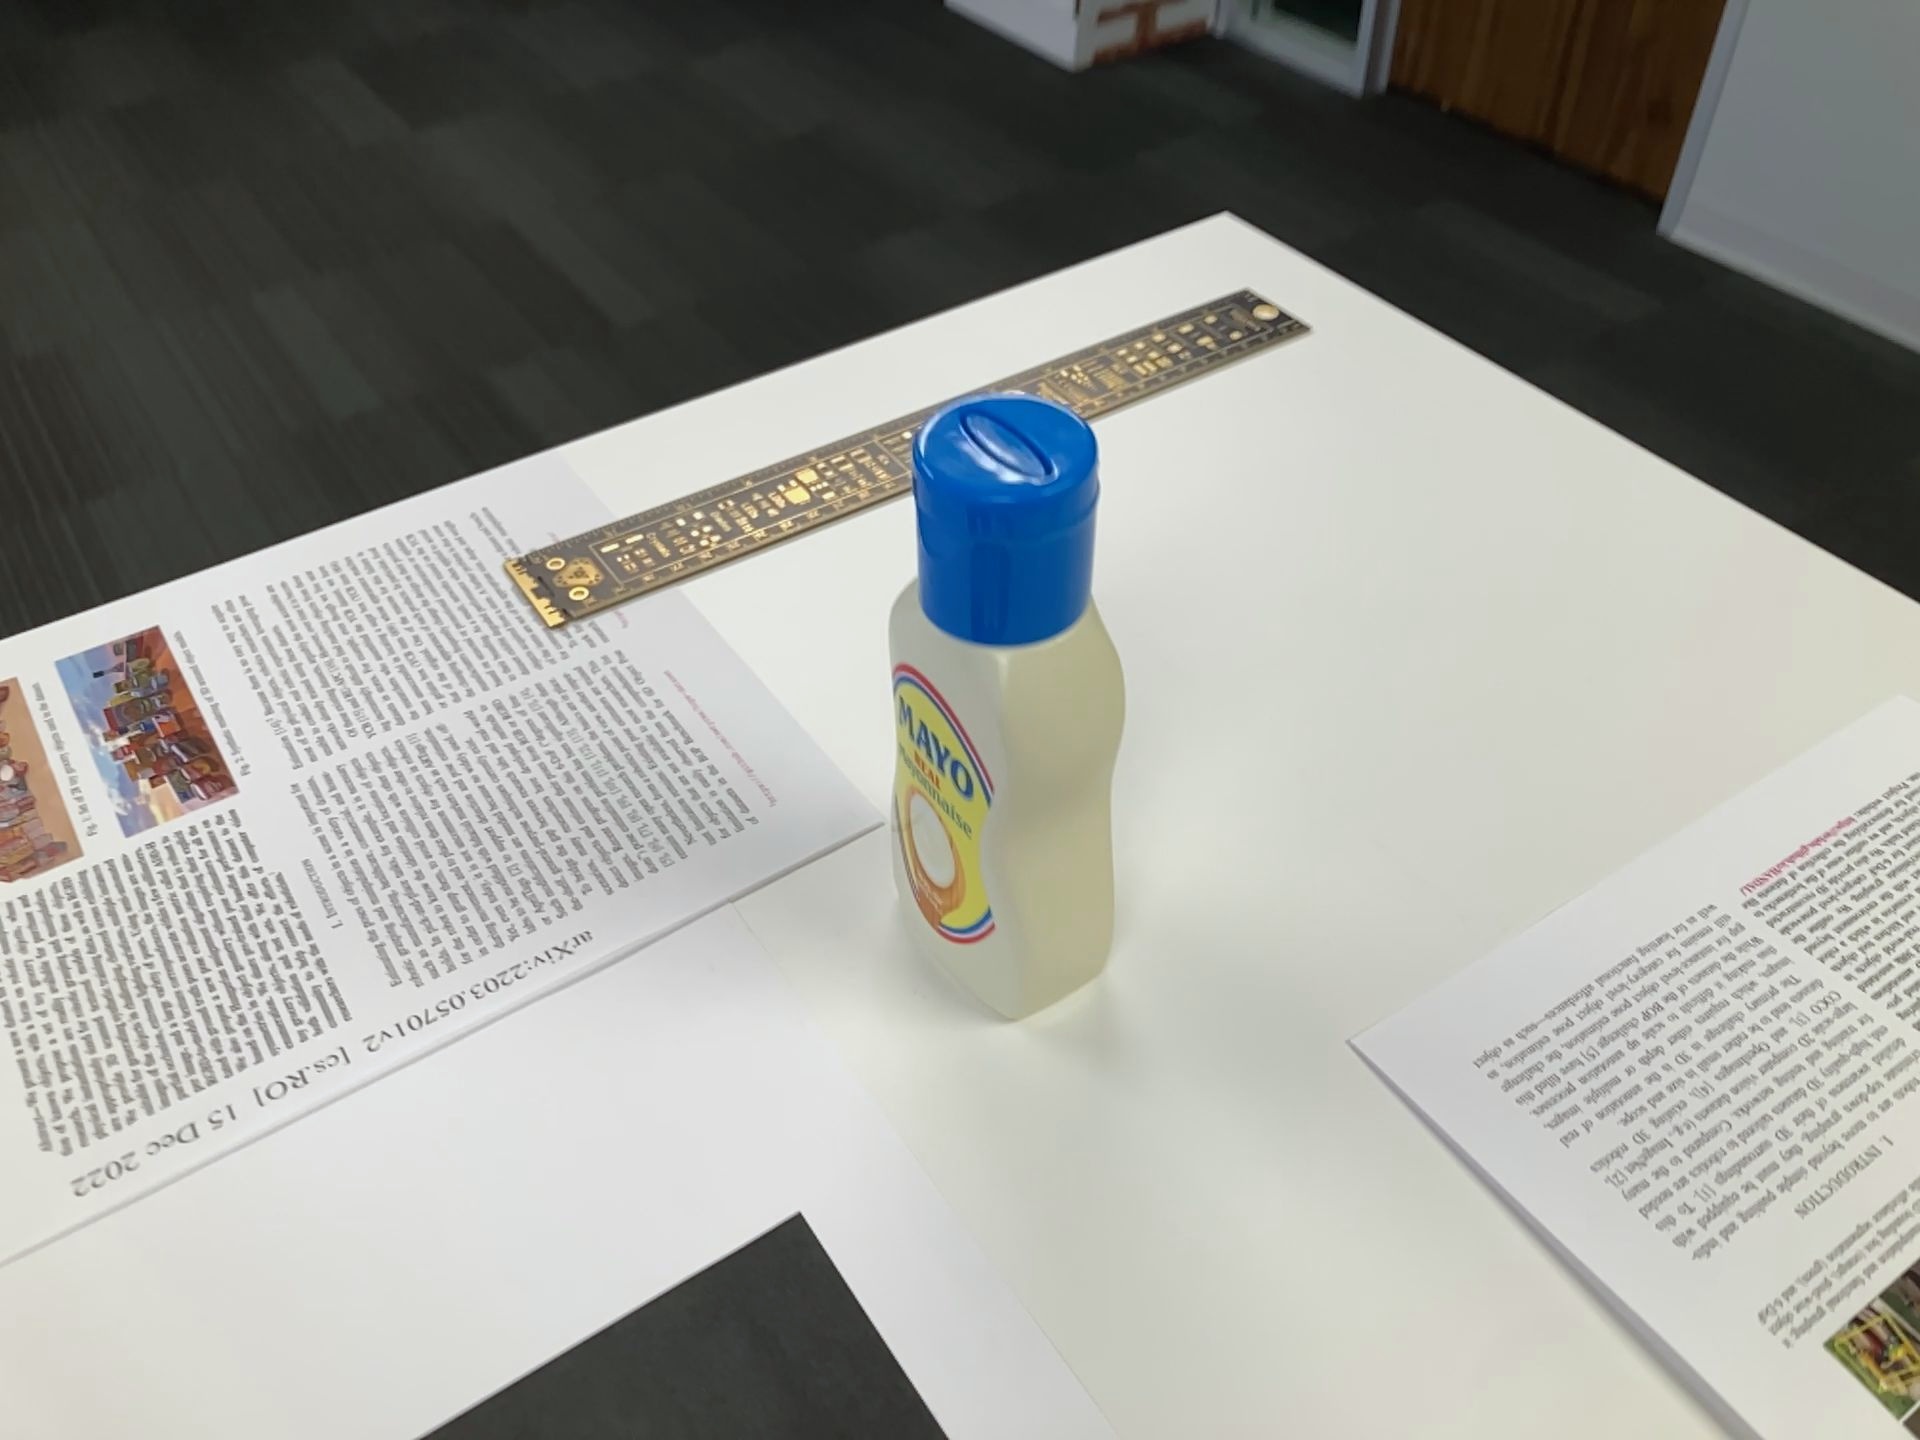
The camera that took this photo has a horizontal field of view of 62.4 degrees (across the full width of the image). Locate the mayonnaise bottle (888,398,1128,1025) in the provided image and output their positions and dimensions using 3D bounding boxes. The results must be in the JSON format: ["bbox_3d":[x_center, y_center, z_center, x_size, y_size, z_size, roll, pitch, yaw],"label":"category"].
[{"bbox_3d":[0.009,0.001,0.352,0.041,0.148,0.065,-25,49,-23],"label":"mayonnaise bottle"}]
